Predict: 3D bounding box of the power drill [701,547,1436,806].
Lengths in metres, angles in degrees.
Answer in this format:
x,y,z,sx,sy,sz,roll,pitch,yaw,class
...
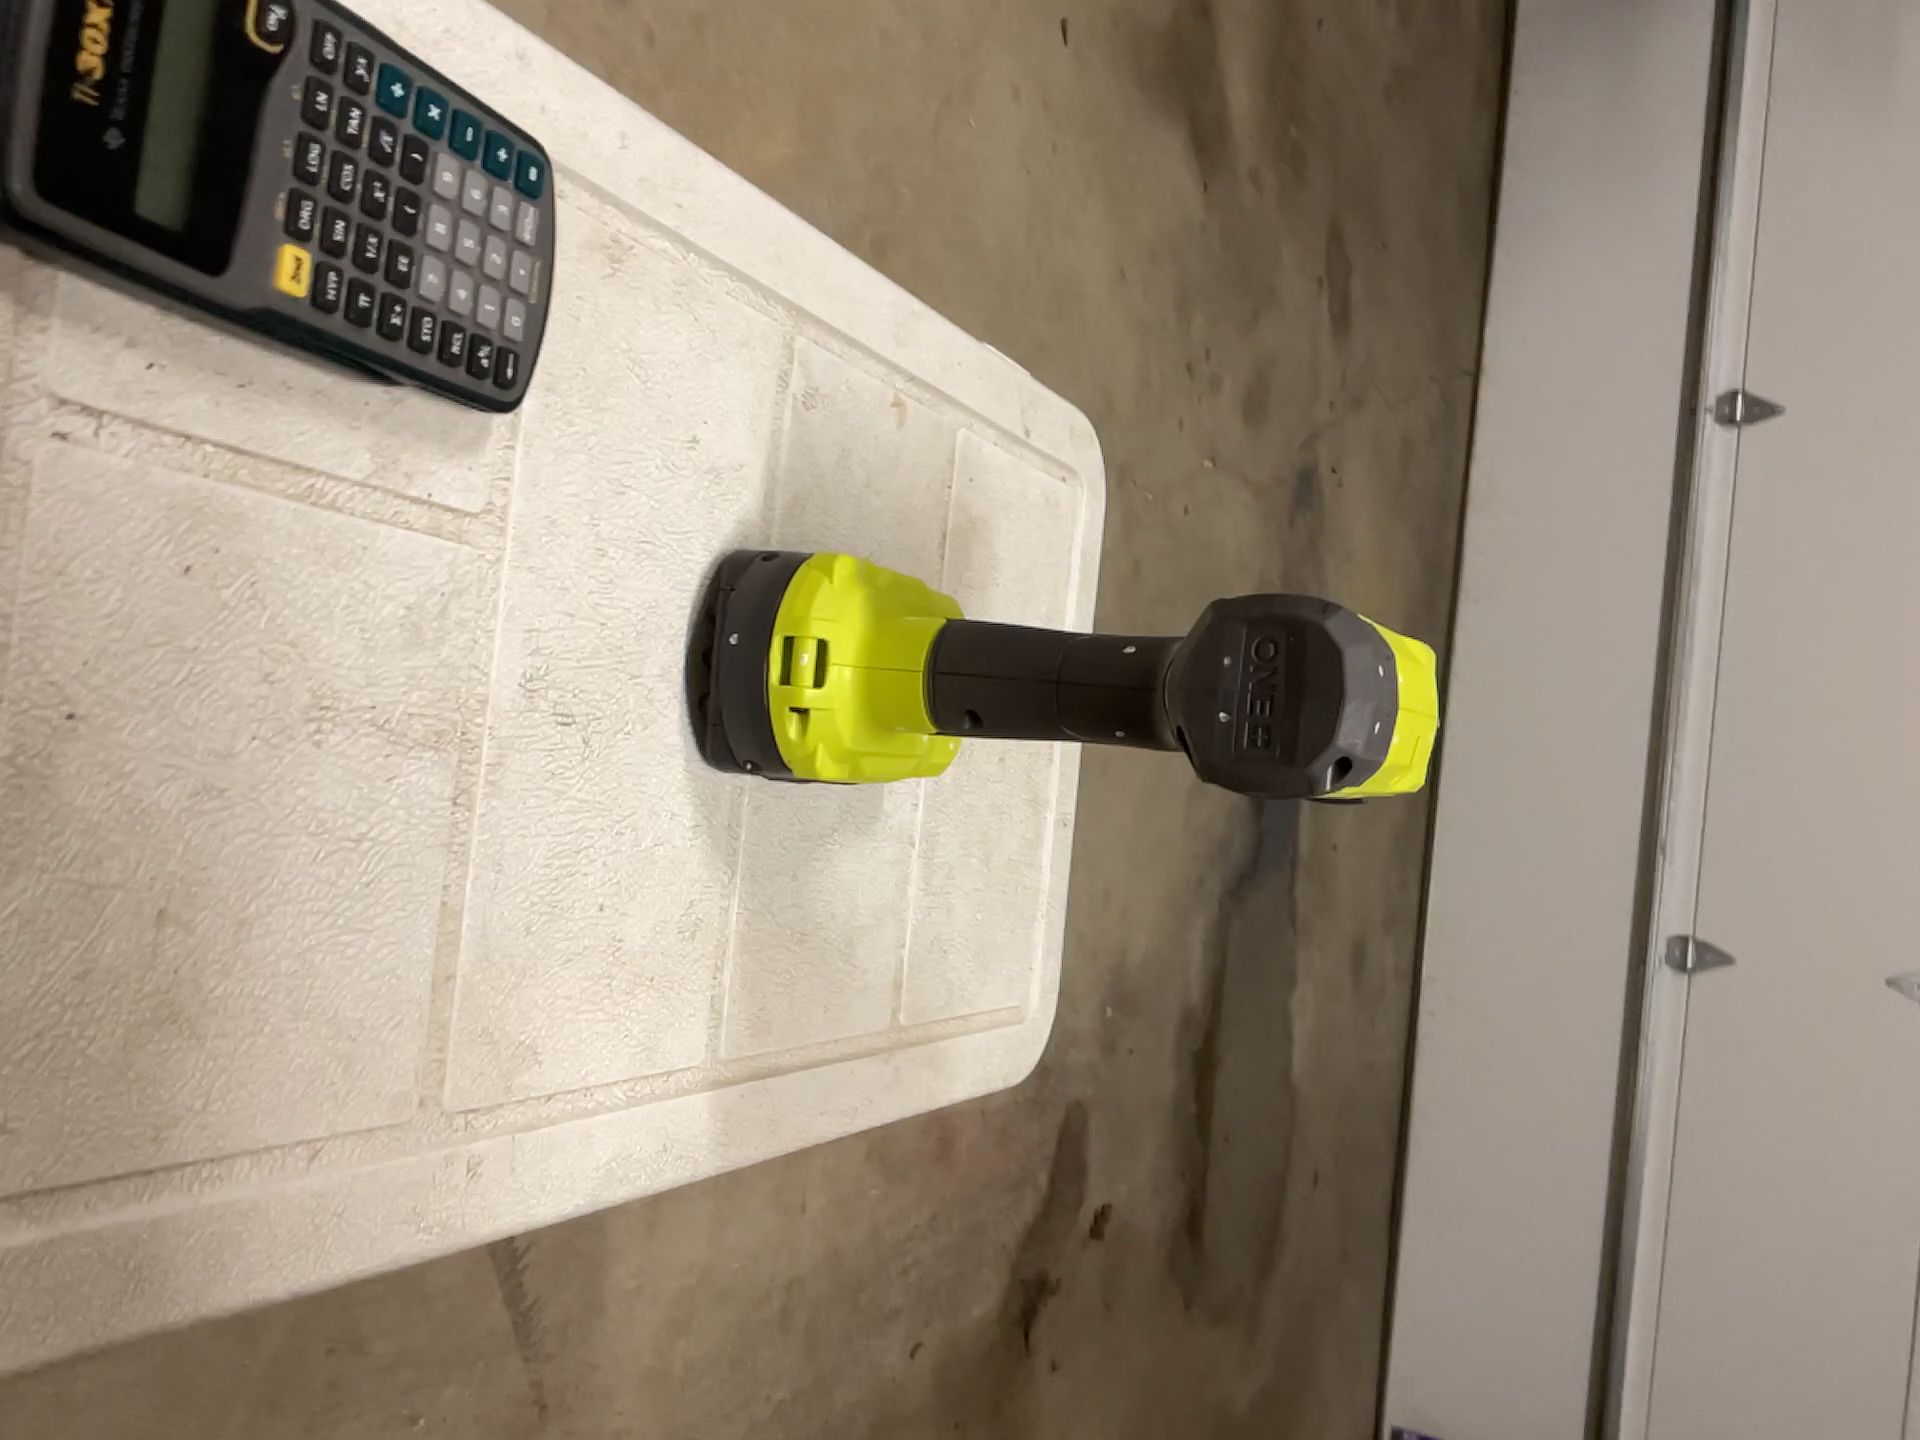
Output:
x,y,z,sx,sy,sz,roll,pitch,yaw,class
0.042,-0.009,0.541,0.171,0.223,0.080,6,90,-65,power drill
